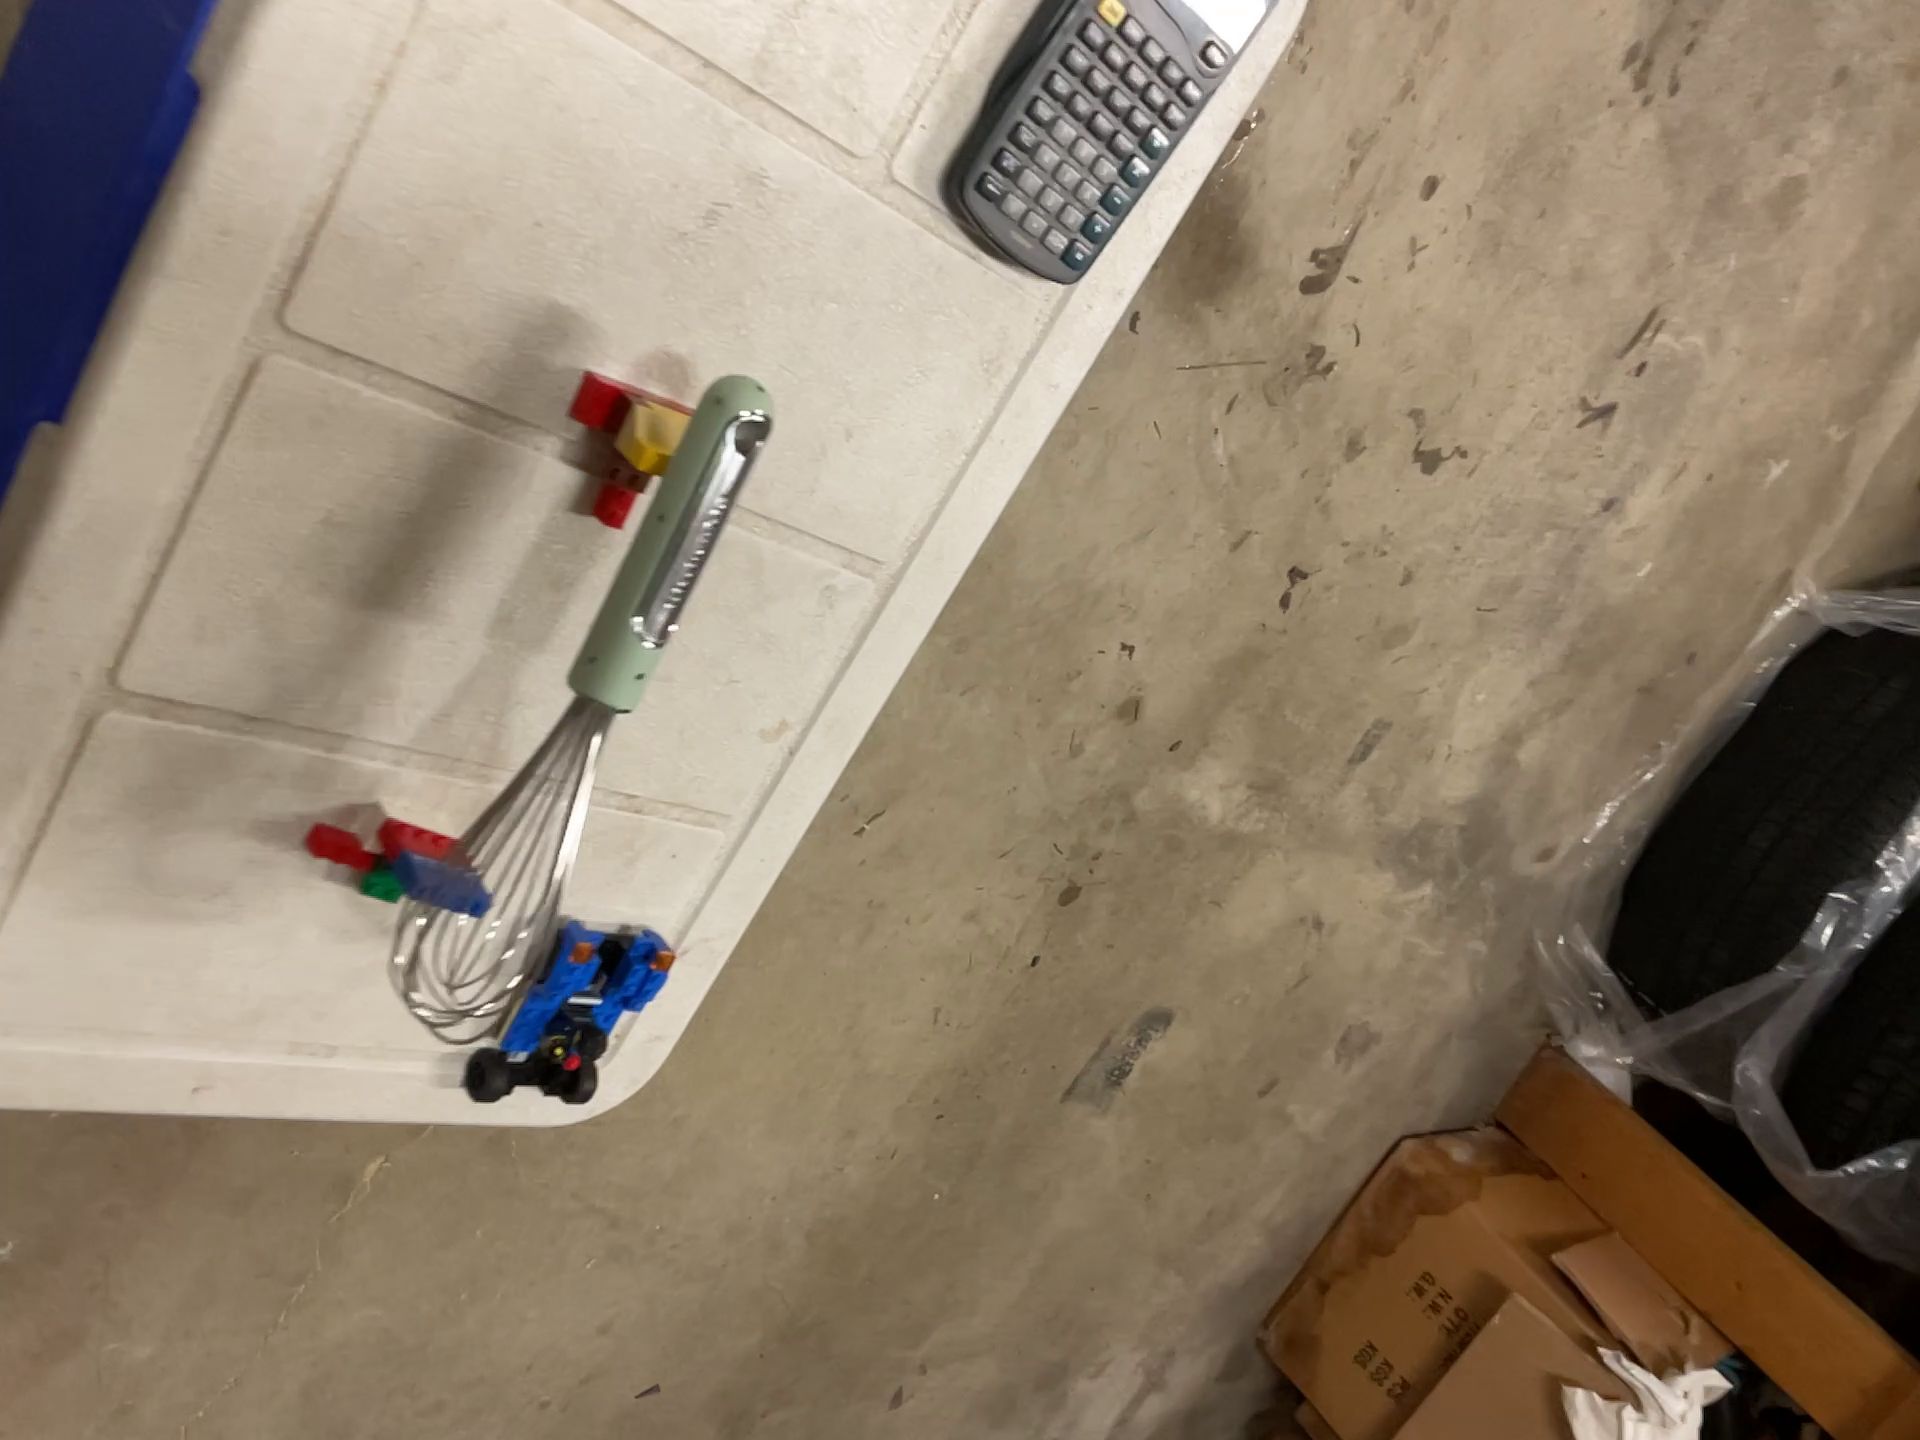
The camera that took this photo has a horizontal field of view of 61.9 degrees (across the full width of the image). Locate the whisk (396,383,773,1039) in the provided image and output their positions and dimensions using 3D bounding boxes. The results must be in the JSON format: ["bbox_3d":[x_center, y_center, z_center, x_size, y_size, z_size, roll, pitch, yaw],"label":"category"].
[{"bbox_3d":[-0.125,-0.001,0.541,0.058,0.059,0.246,16,104,-52],"label":"whisk"}]
